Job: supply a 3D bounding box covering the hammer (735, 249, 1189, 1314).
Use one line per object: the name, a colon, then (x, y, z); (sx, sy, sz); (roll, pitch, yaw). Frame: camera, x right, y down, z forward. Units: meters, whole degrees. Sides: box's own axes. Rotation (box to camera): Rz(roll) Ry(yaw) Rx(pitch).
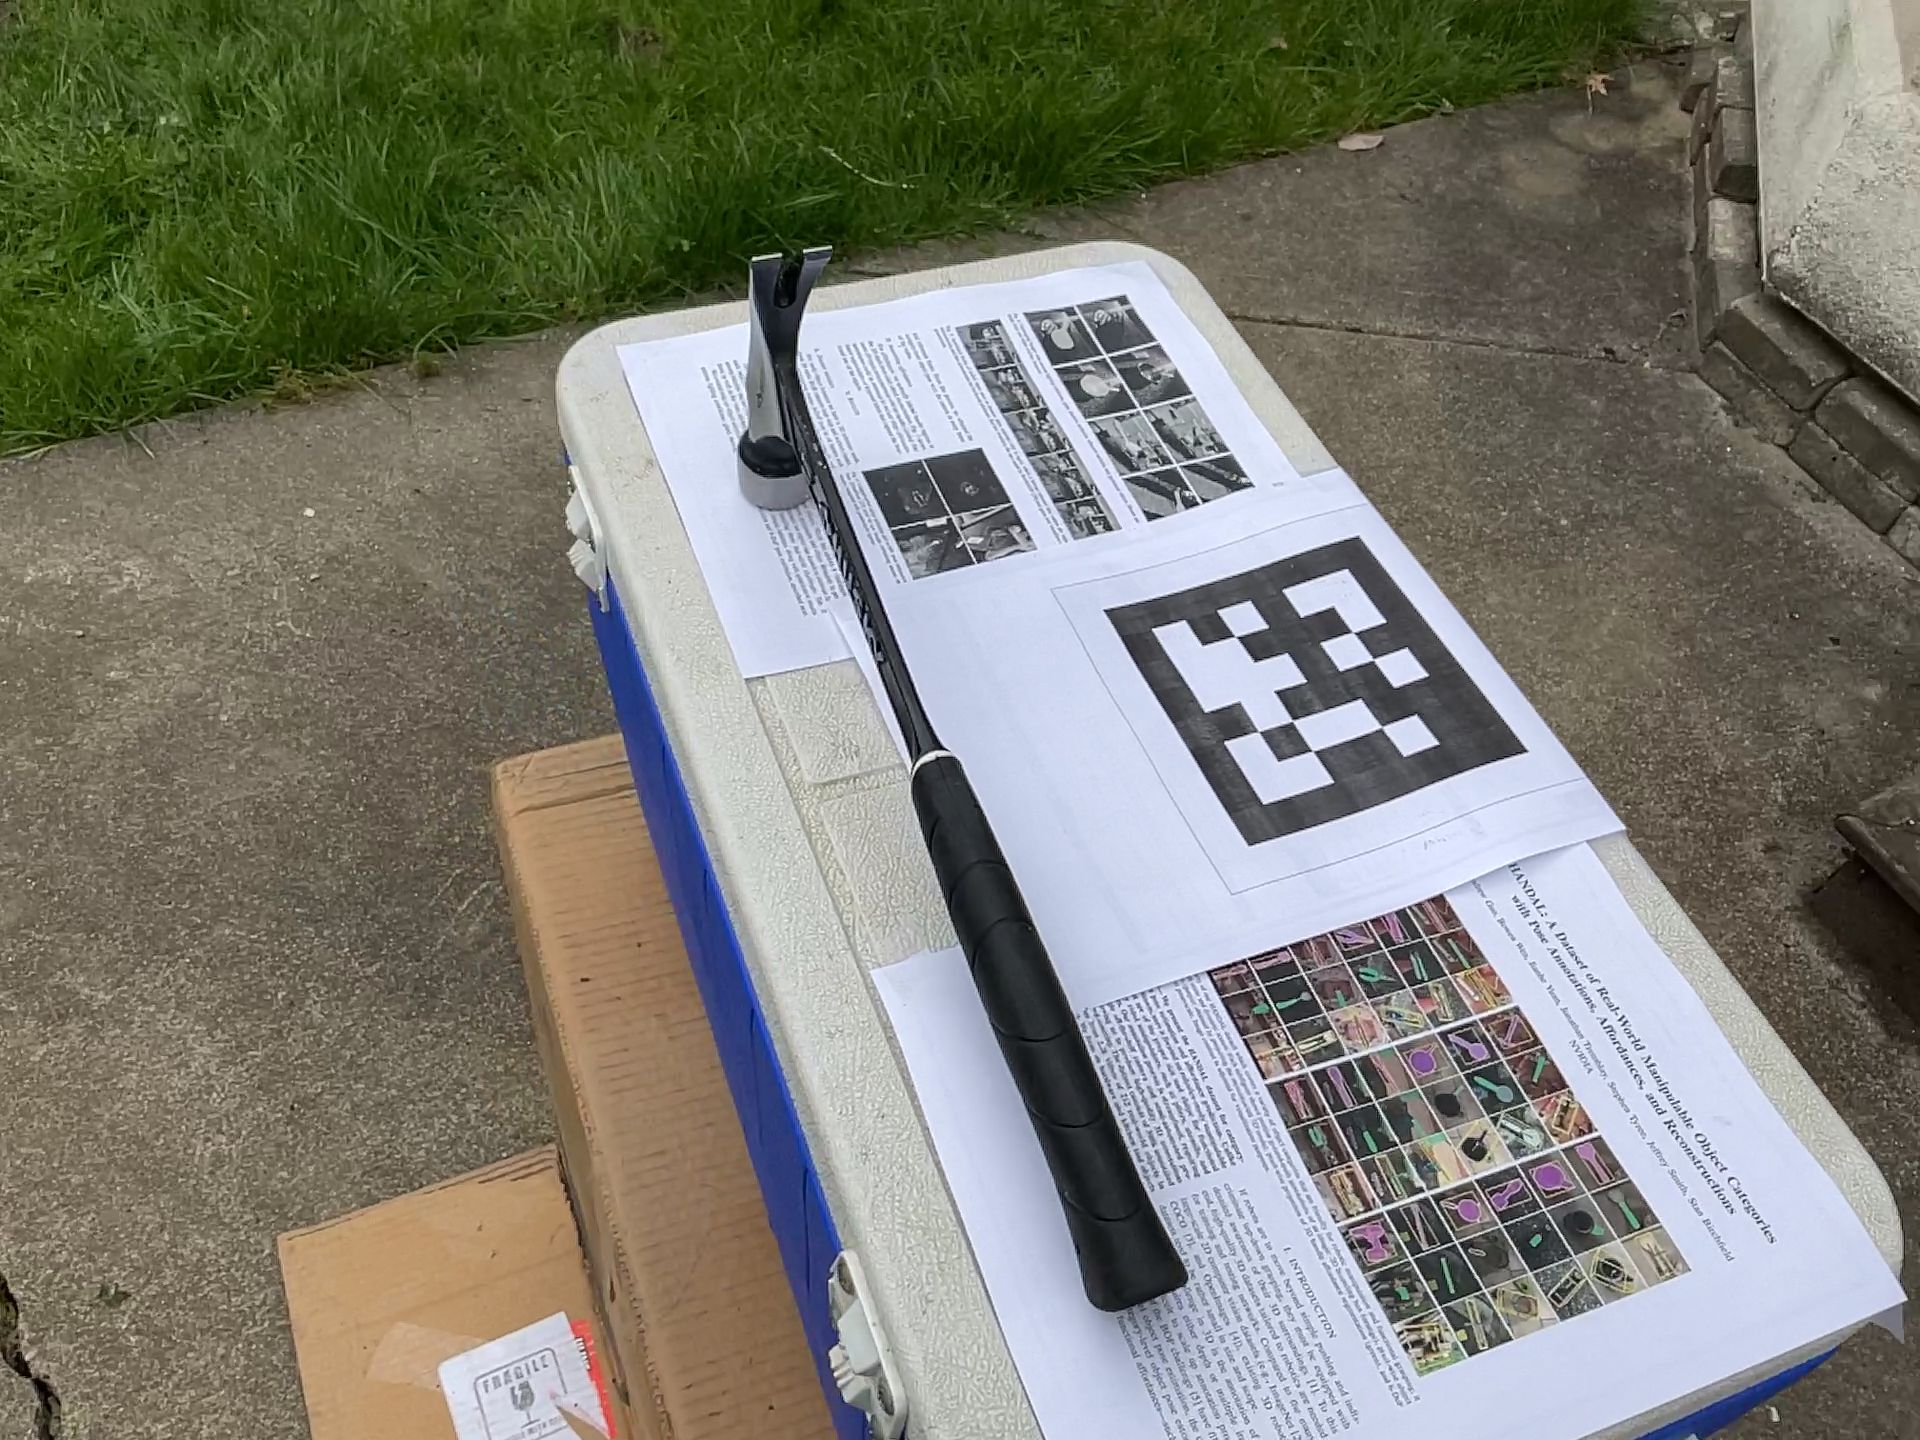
hammer: (-0.012, 0.007, 0.567); (0.036, 0.149, 0.409); (-14, 60, -15)
